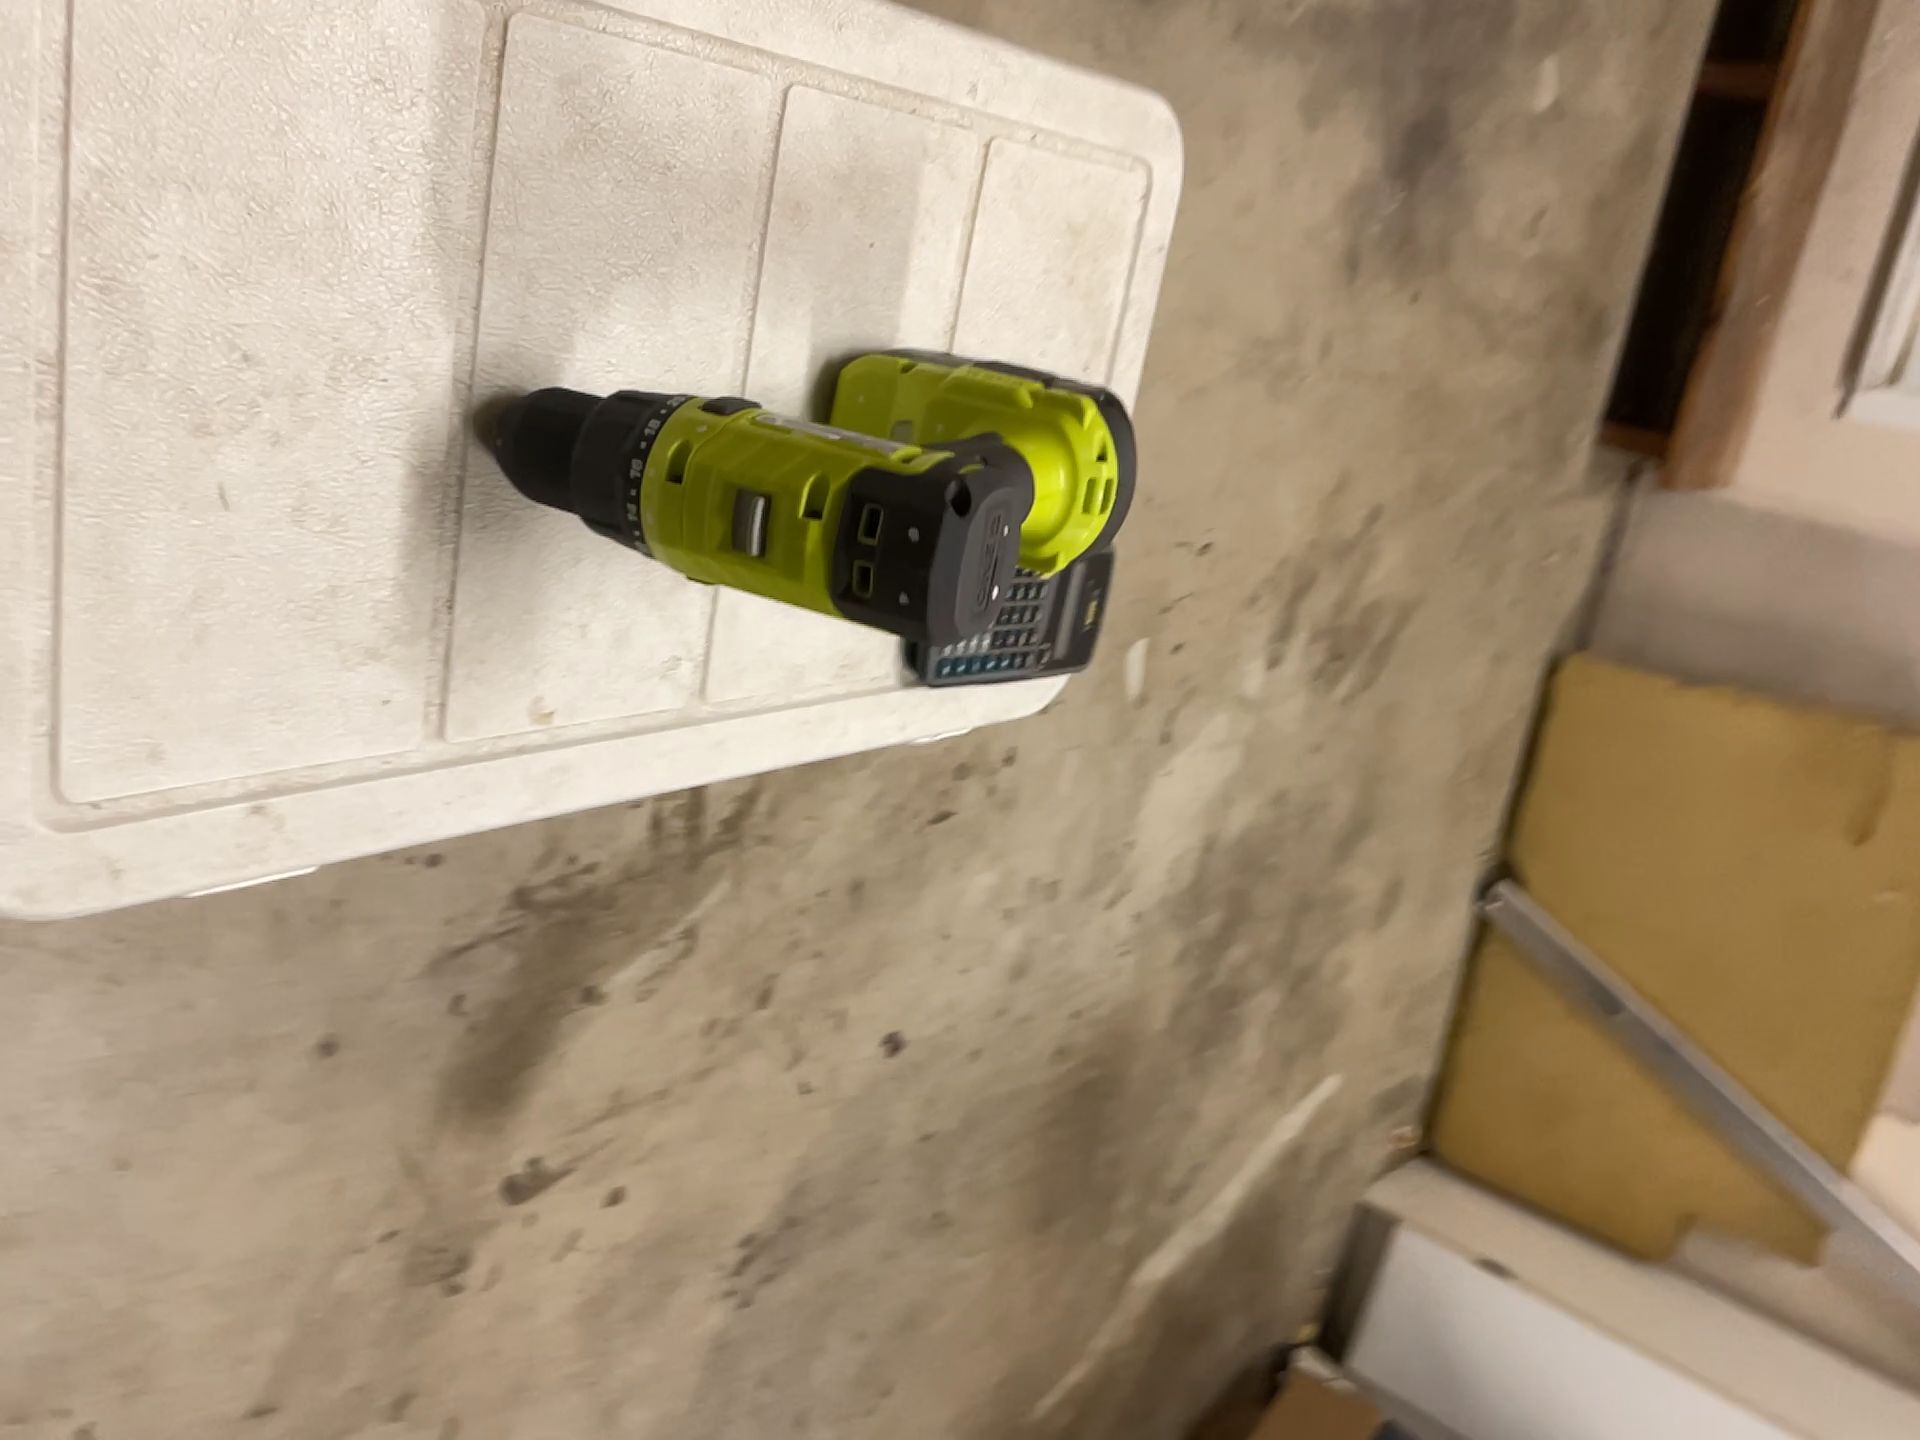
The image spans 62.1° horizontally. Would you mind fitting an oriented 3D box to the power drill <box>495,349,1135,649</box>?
[{"bbox_3d":[-0.043,-0.096,0.617,0.229,0.190,0.080,-30,134,-62],"label":"power drill"}]
